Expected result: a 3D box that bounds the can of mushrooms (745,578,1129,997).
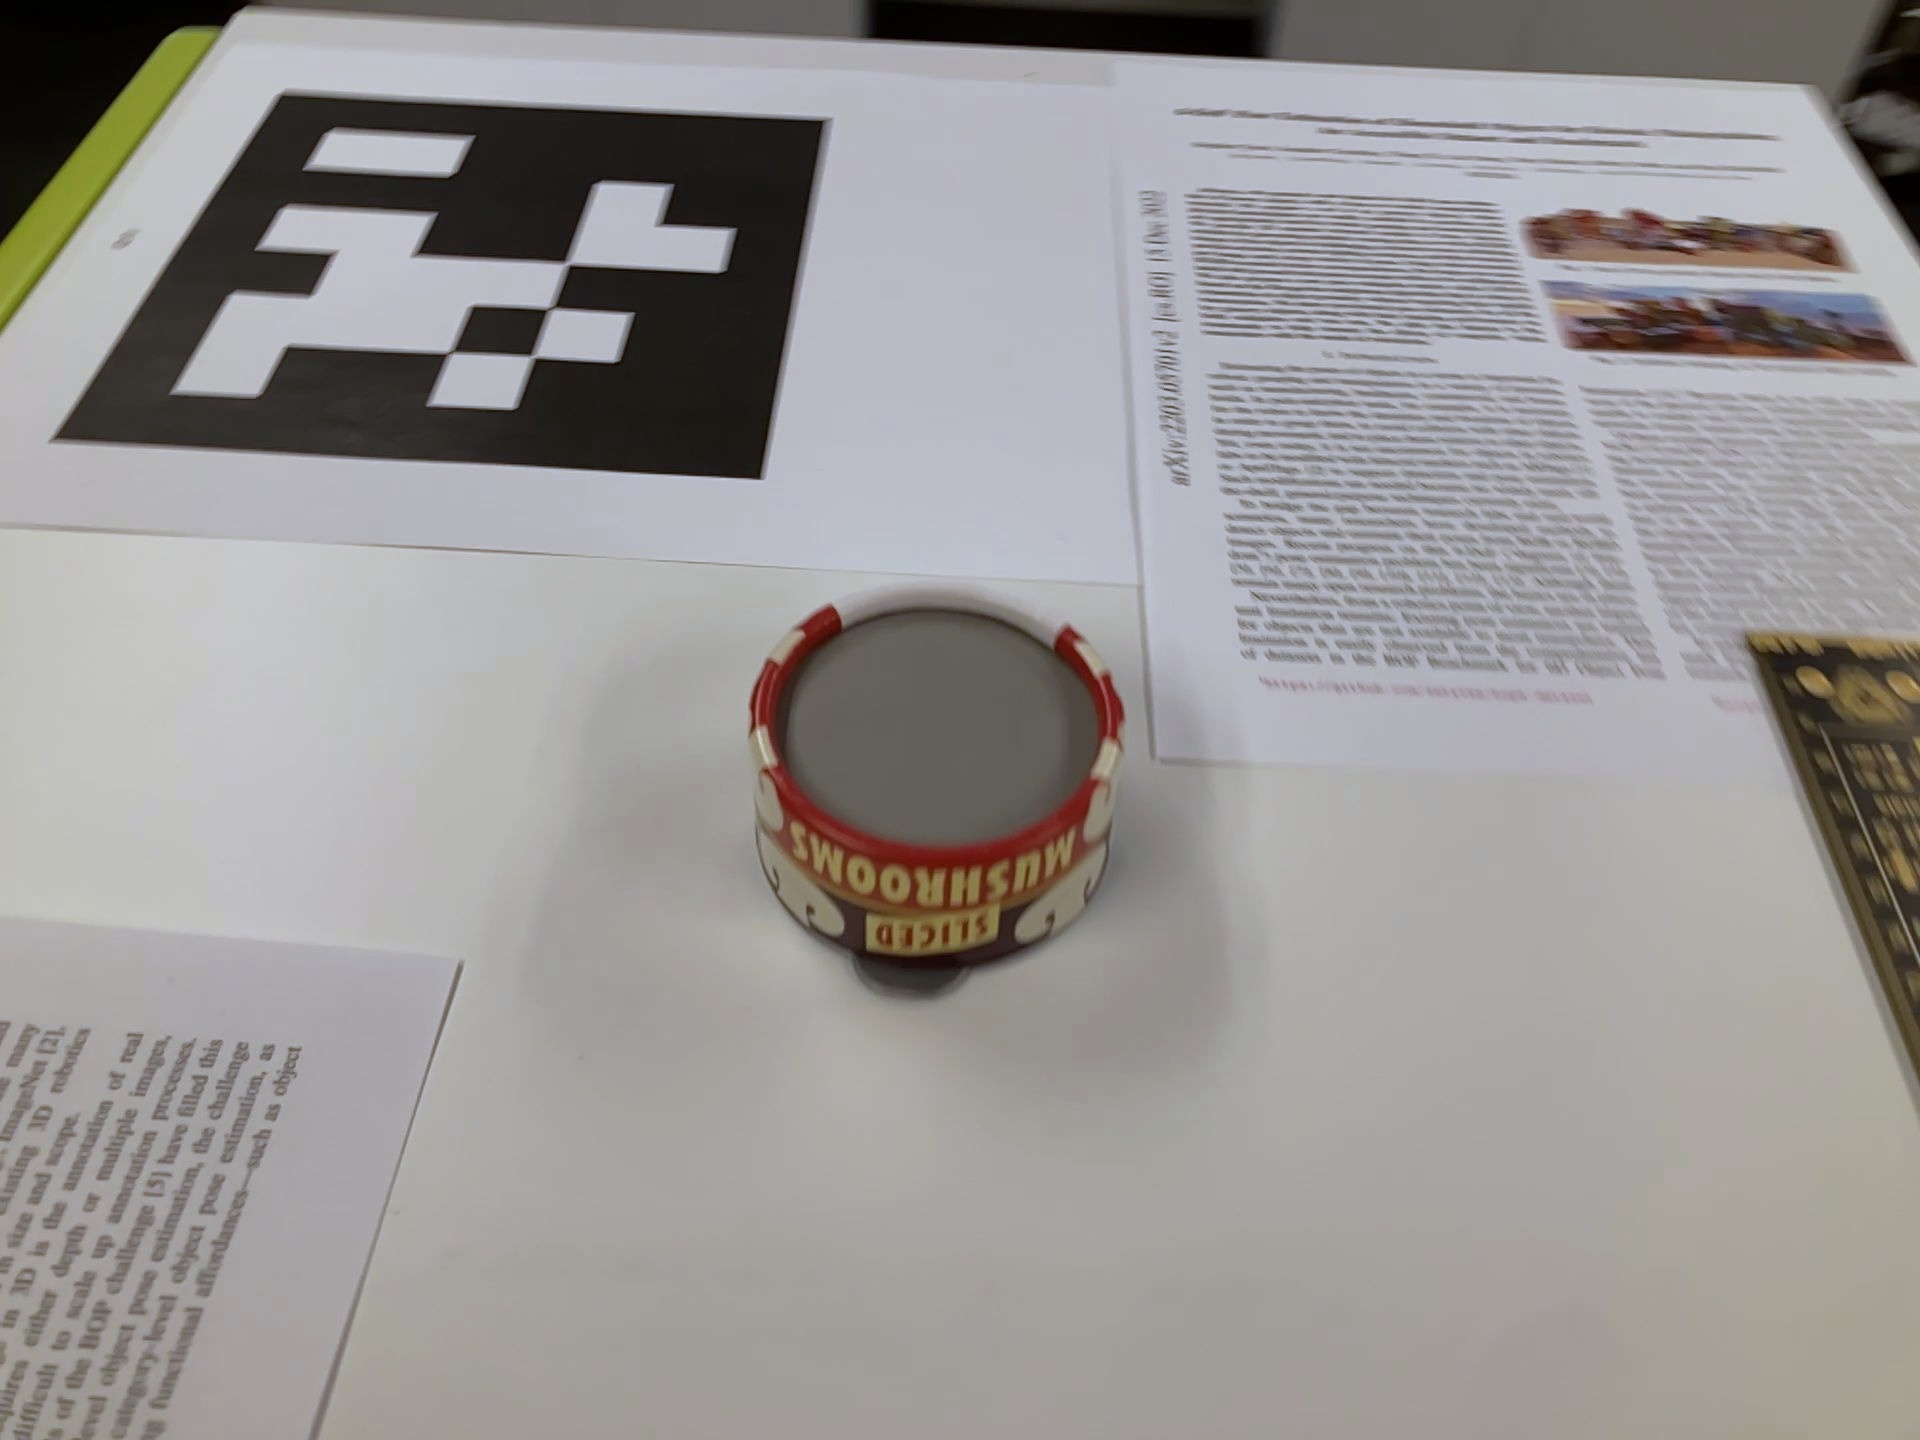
[{"bbox_3d":[-0.004,0.010,0.279,0.071,0.033,0.071,2,49,-2],"label":"can of mushrooms"}]
